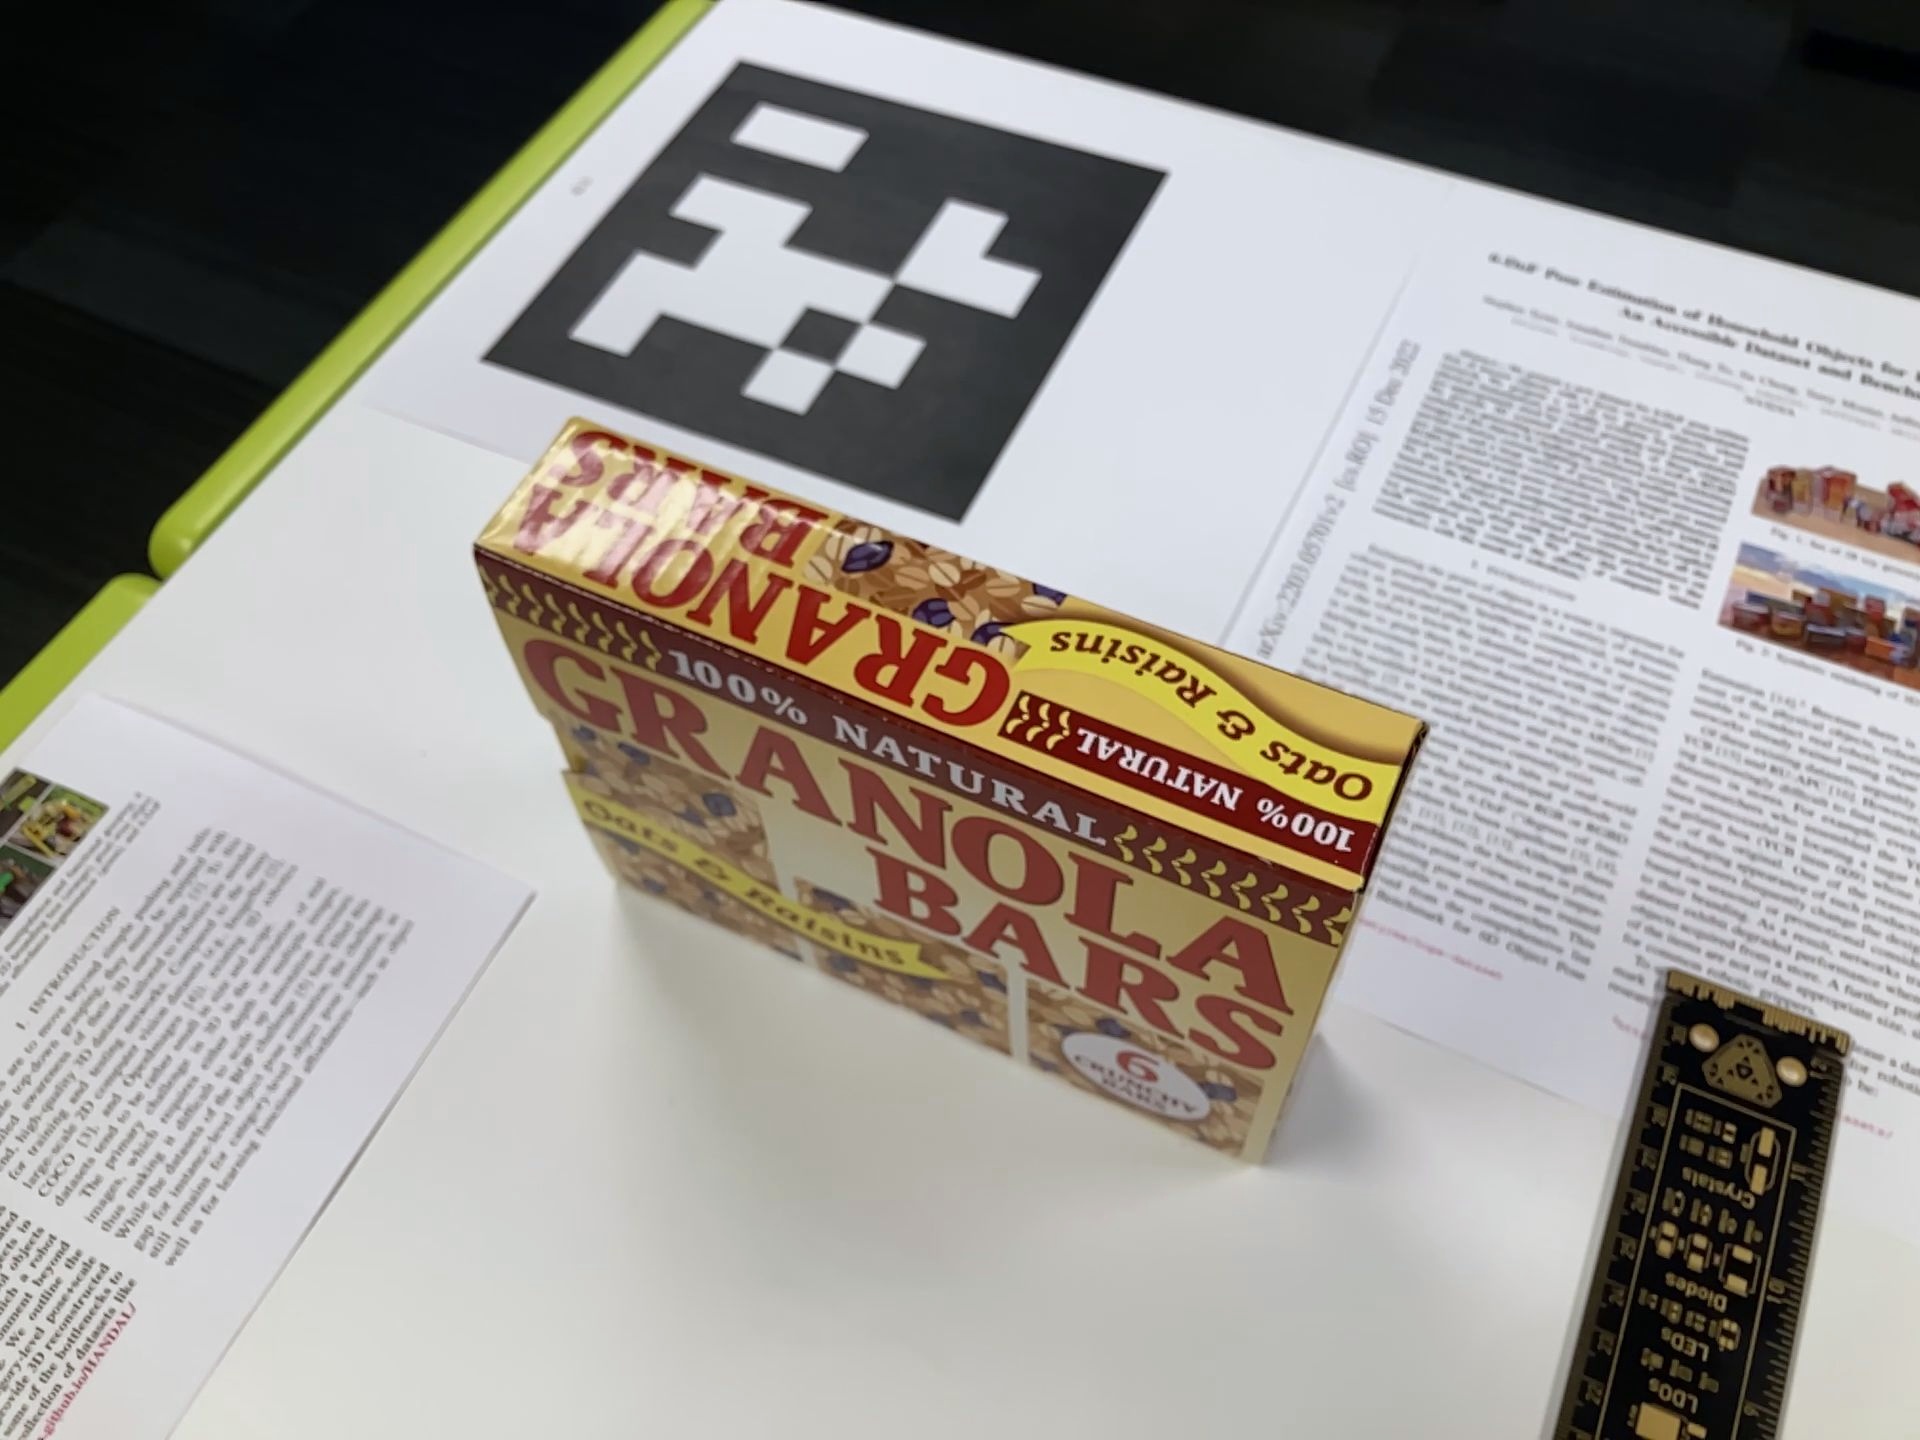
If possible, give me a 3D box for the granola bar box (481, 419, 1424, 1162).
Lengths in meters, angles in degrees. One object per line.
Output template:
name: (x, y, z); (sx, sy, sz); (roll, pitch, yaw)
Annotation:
granola bar box: (-0.005, 0.019, 0.322); (0.165, 0.124, 0.039); (21, 58, 15)
